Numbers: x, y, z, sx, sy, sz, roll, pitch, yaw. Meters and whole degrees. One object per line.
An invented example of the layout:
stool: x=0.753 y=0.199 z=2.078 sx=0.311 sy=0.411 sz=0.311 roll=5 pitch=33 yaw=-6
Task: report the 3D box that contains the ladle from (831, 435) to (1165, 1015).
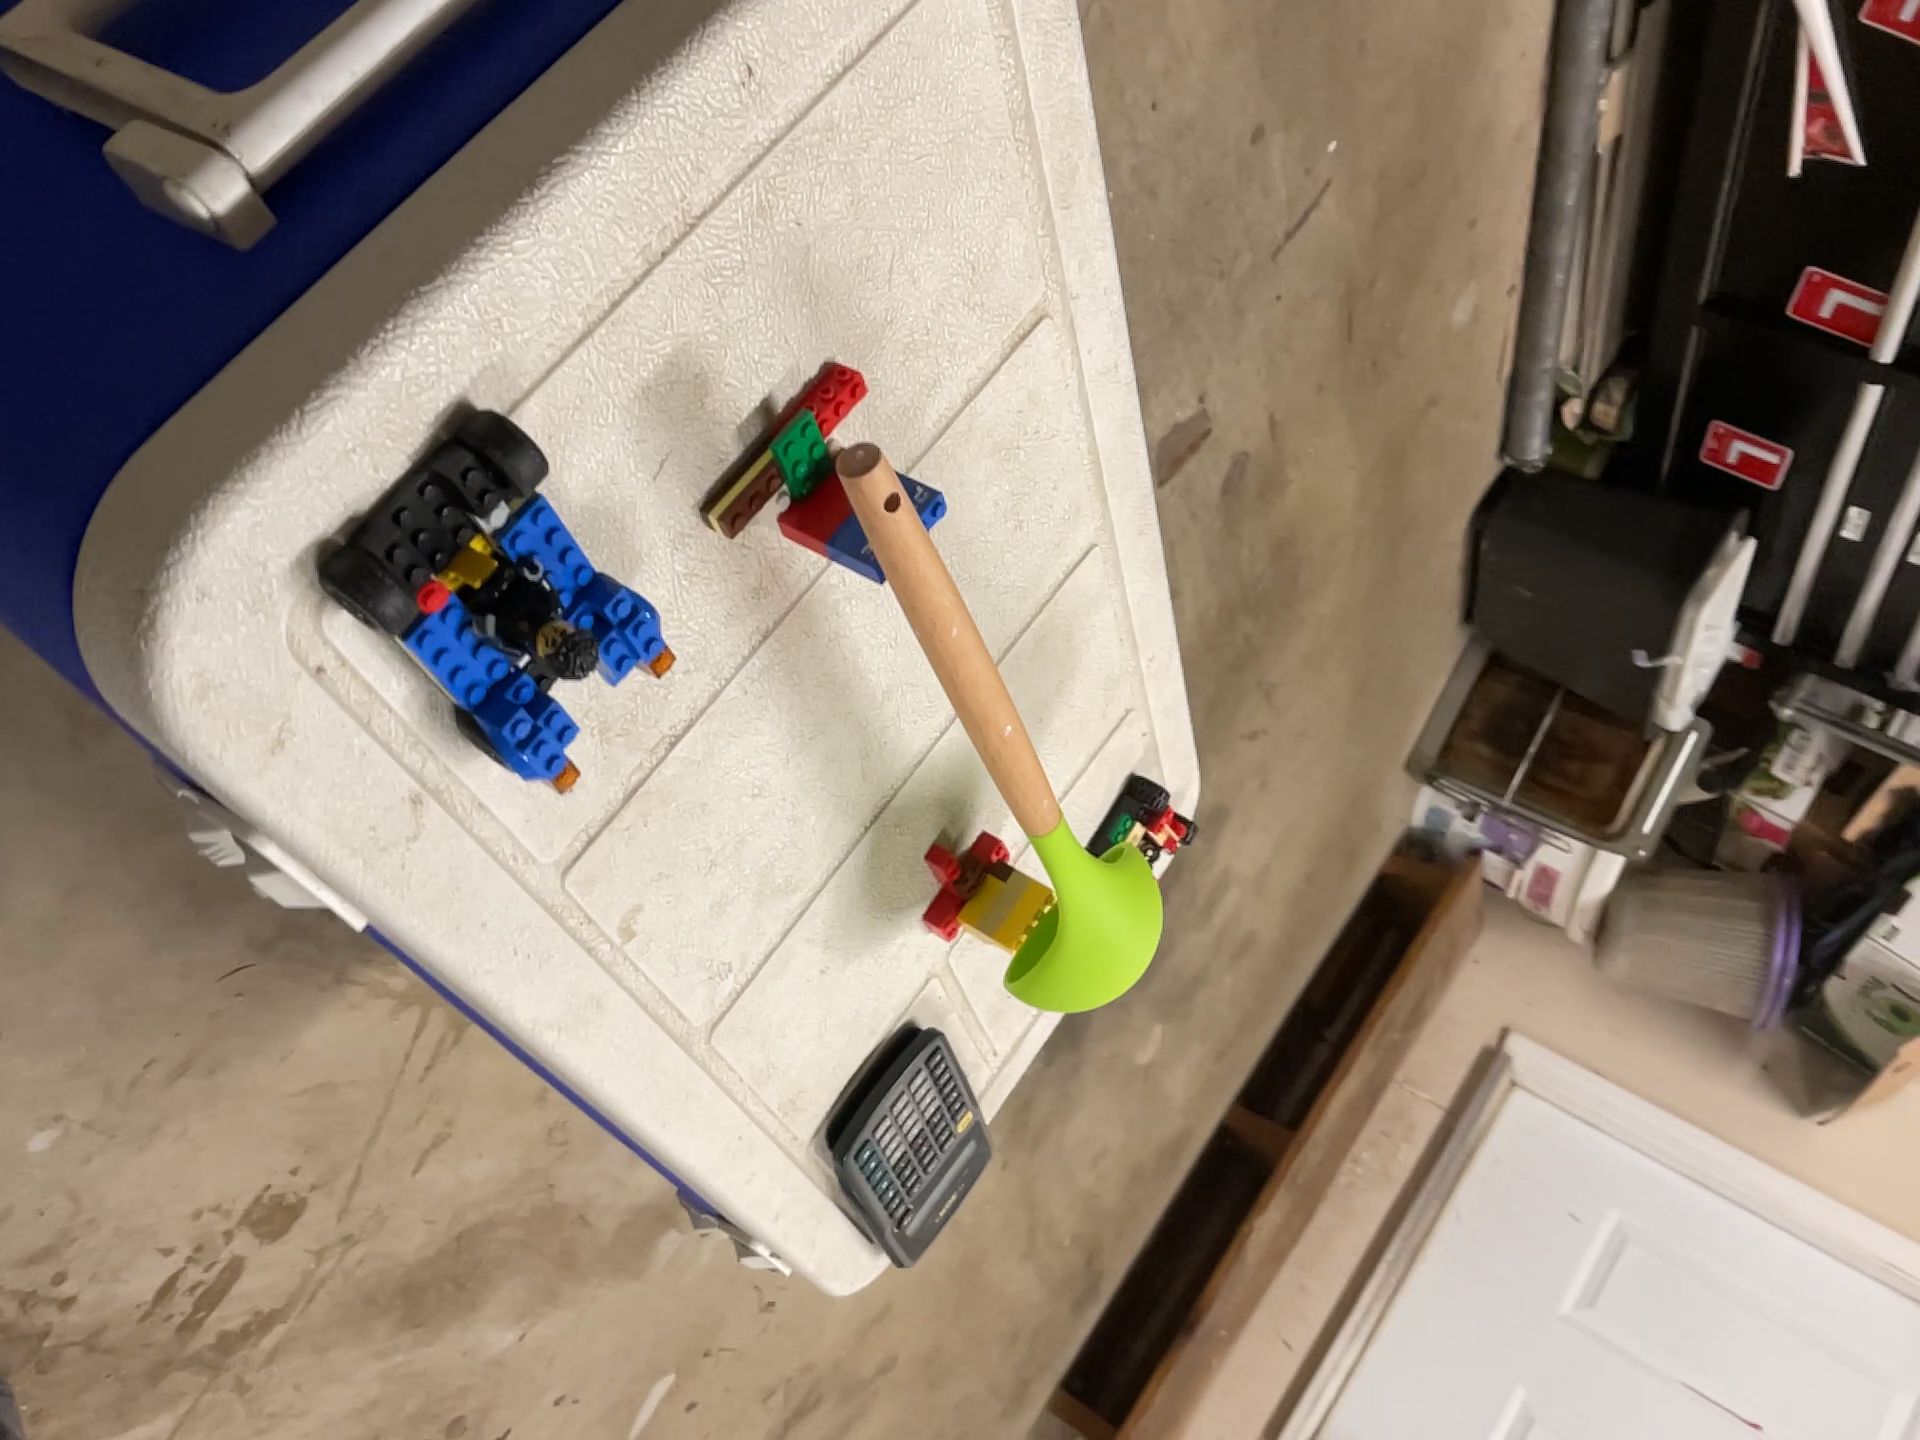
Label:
ladle: x=0.012 y=0.014 z=0.541 sx=0.078 sy=0.062 sz=0.320 roll=-47 pitch=143 yaw=-15
